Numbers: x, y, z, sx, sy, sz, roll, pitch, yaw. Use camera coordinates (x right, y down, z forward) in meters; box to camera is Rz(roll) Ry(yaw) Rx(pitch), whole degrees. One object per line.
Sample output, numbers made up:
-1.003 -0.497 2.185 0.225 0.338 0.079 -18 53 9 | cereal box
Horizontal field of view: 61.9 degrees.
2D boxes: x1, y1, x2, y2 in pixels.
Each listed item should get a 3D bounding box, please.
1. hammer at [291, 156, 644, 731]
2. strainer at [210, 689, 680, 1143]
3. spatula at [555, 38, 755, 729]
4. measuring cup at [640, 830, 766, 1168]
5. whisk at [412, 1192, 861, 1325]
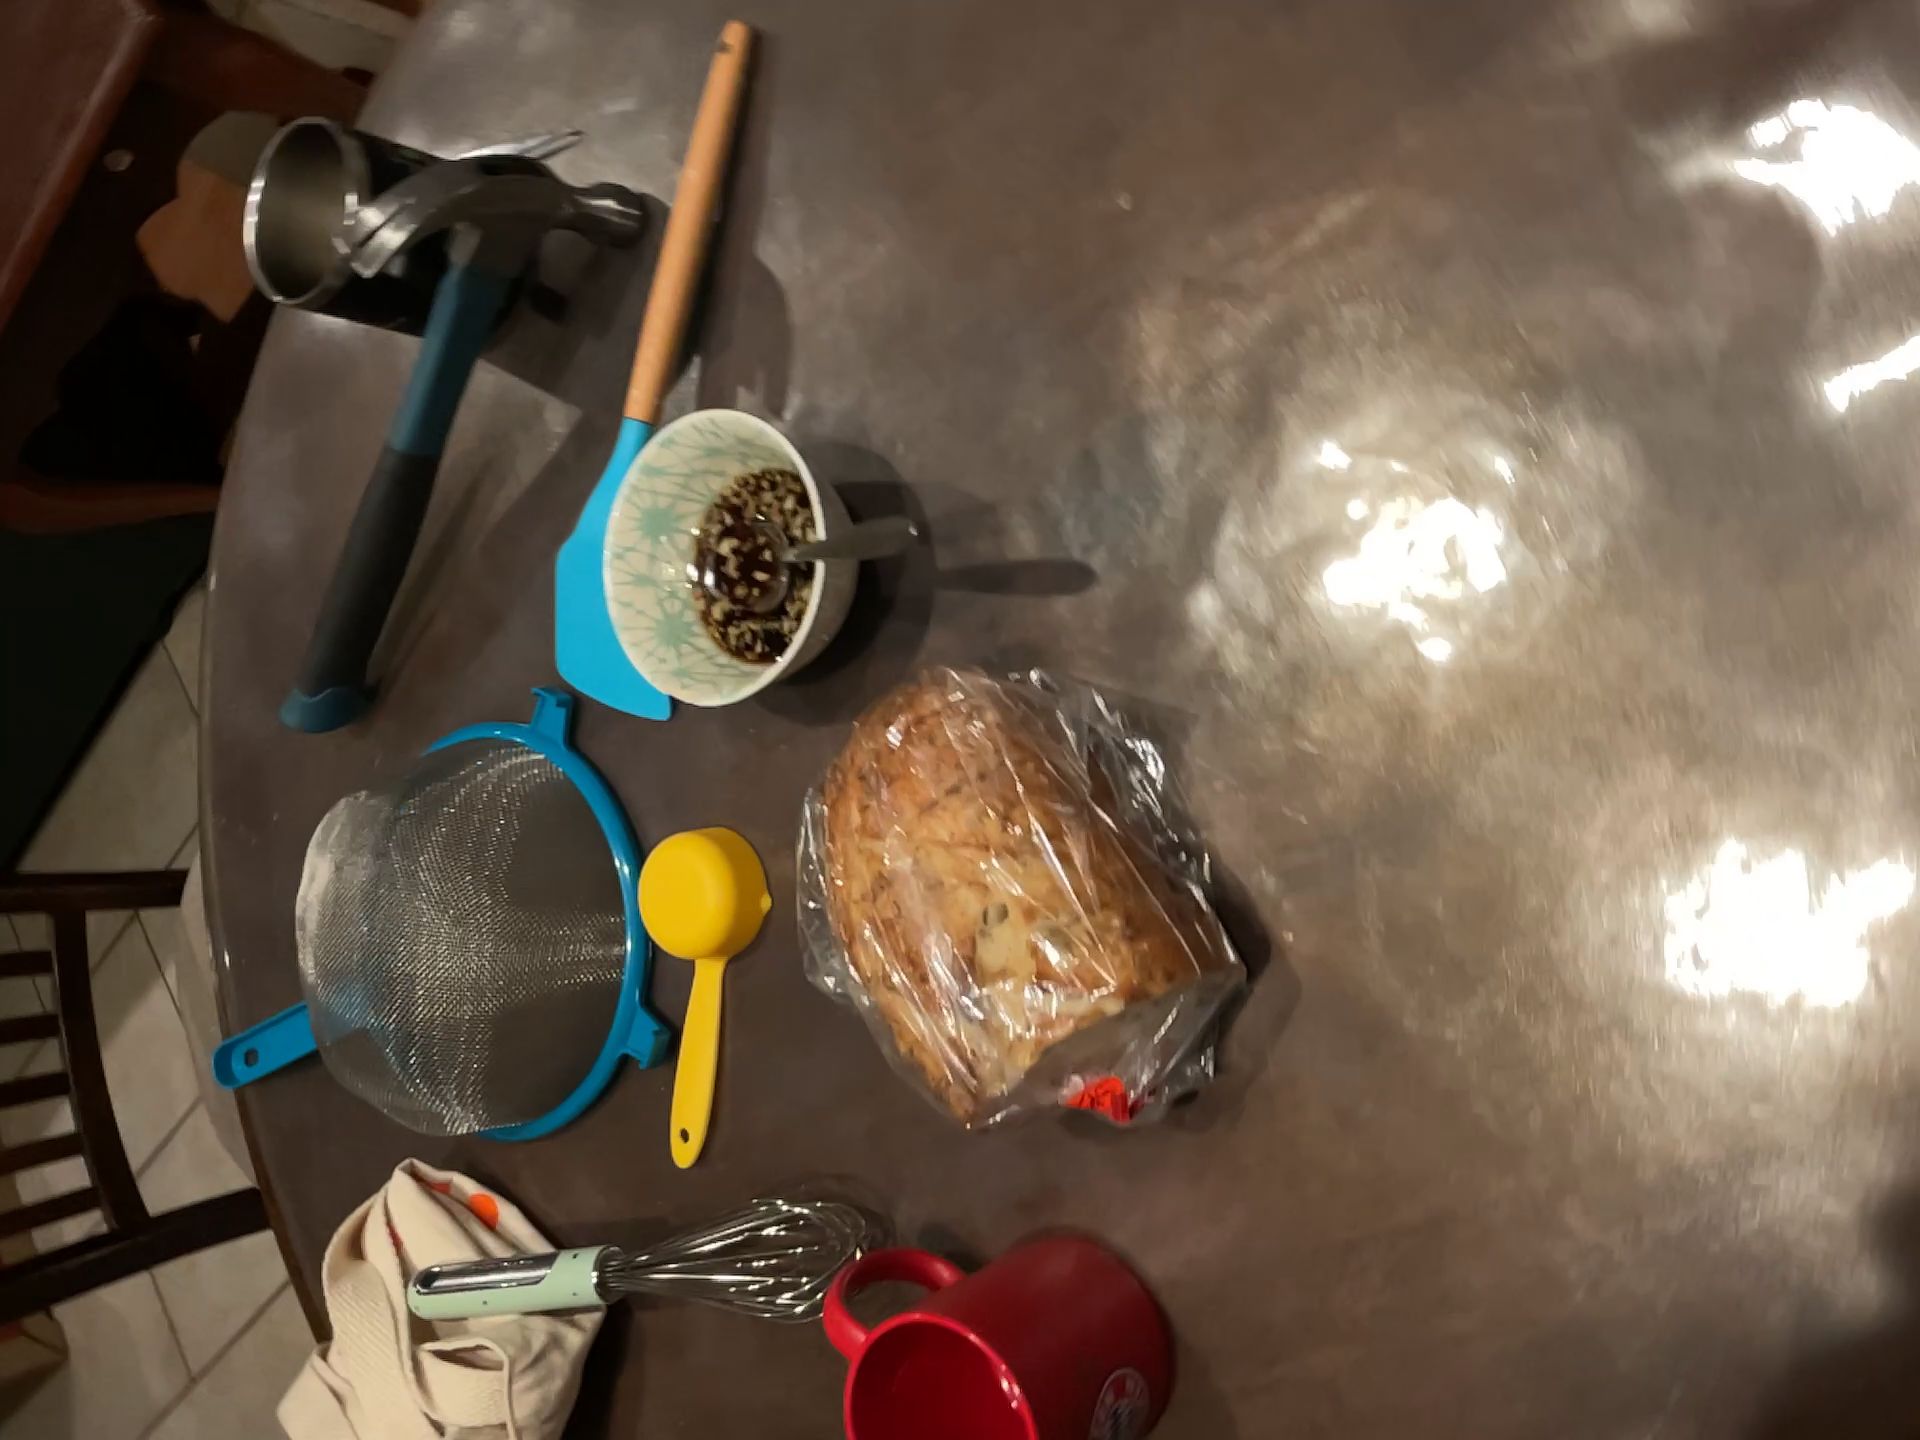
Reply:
-0.272 -0.126 0.802 0.033 0.128 0.330 48 122 28 | hammer
-0.305 0.131 0.812 0.340 0.095 0.211 -27 73 26 | strainer
-0.137 -0.157 0.751 0.082 0.044 0.317 19 95 34 | spatula
-0.125 0.128 0.727 0.062 0.029 0.156 7 91 34 | measuring cup
-0.150 0.246 0.712 0.246 0.058 0.059 -15 111 24 | whisk
